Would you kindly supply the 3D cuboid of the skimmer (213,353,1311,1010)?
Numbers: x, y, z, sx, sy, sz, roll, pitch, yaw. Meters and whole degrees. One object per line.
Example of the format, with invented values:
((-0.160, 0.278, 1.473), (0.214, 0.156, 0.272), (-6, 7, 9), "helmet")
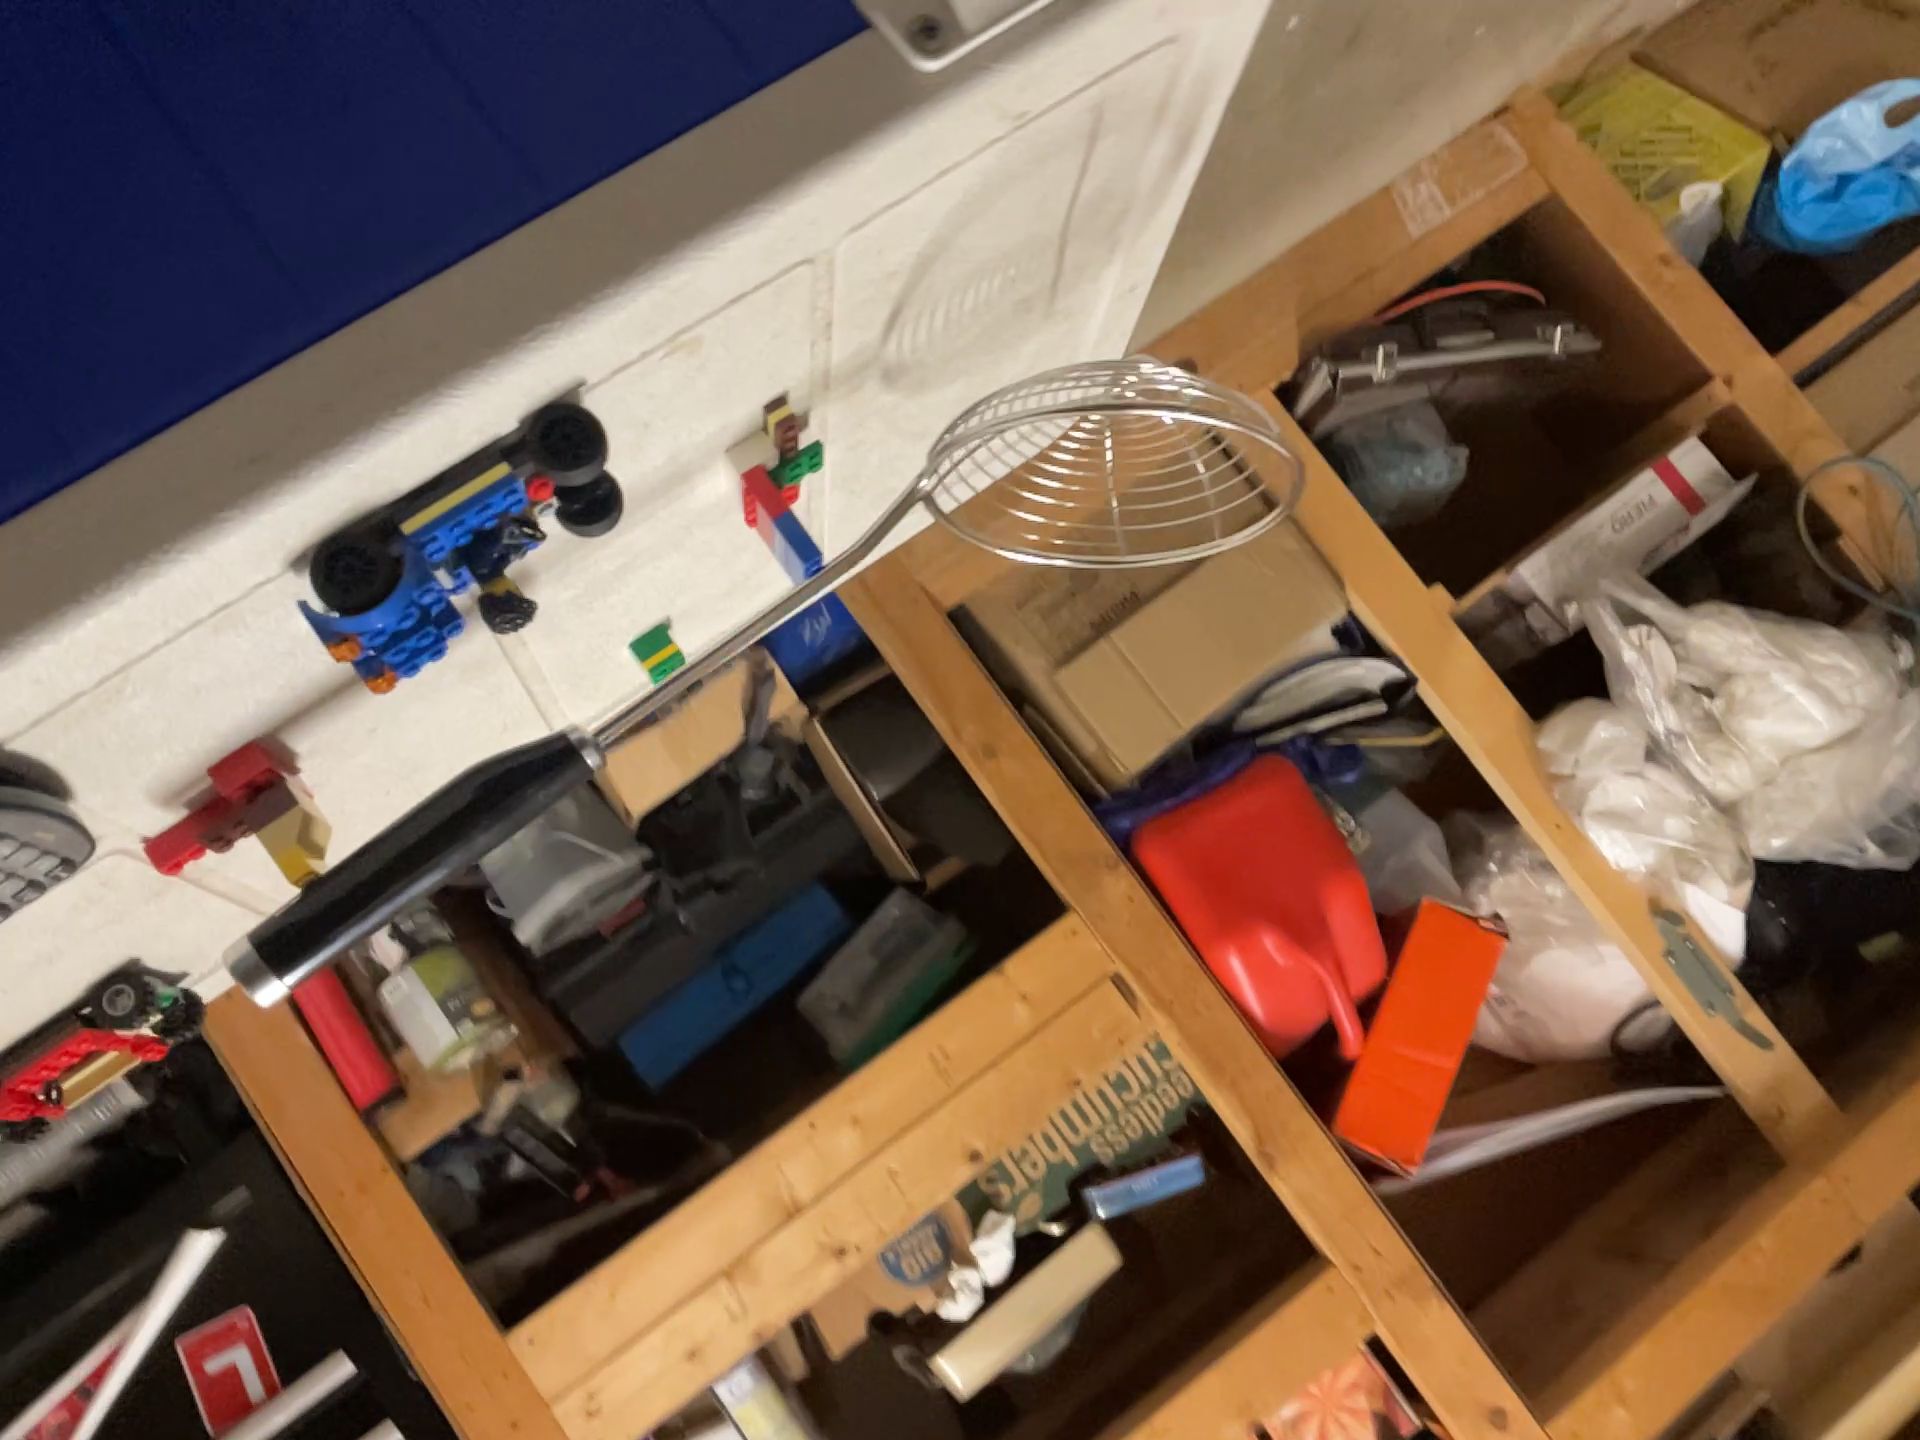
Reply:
((-0.053, -0.004, 0.504), (0.363, 0.090, 0.127), (-36, 169, -13), "skimmer")
